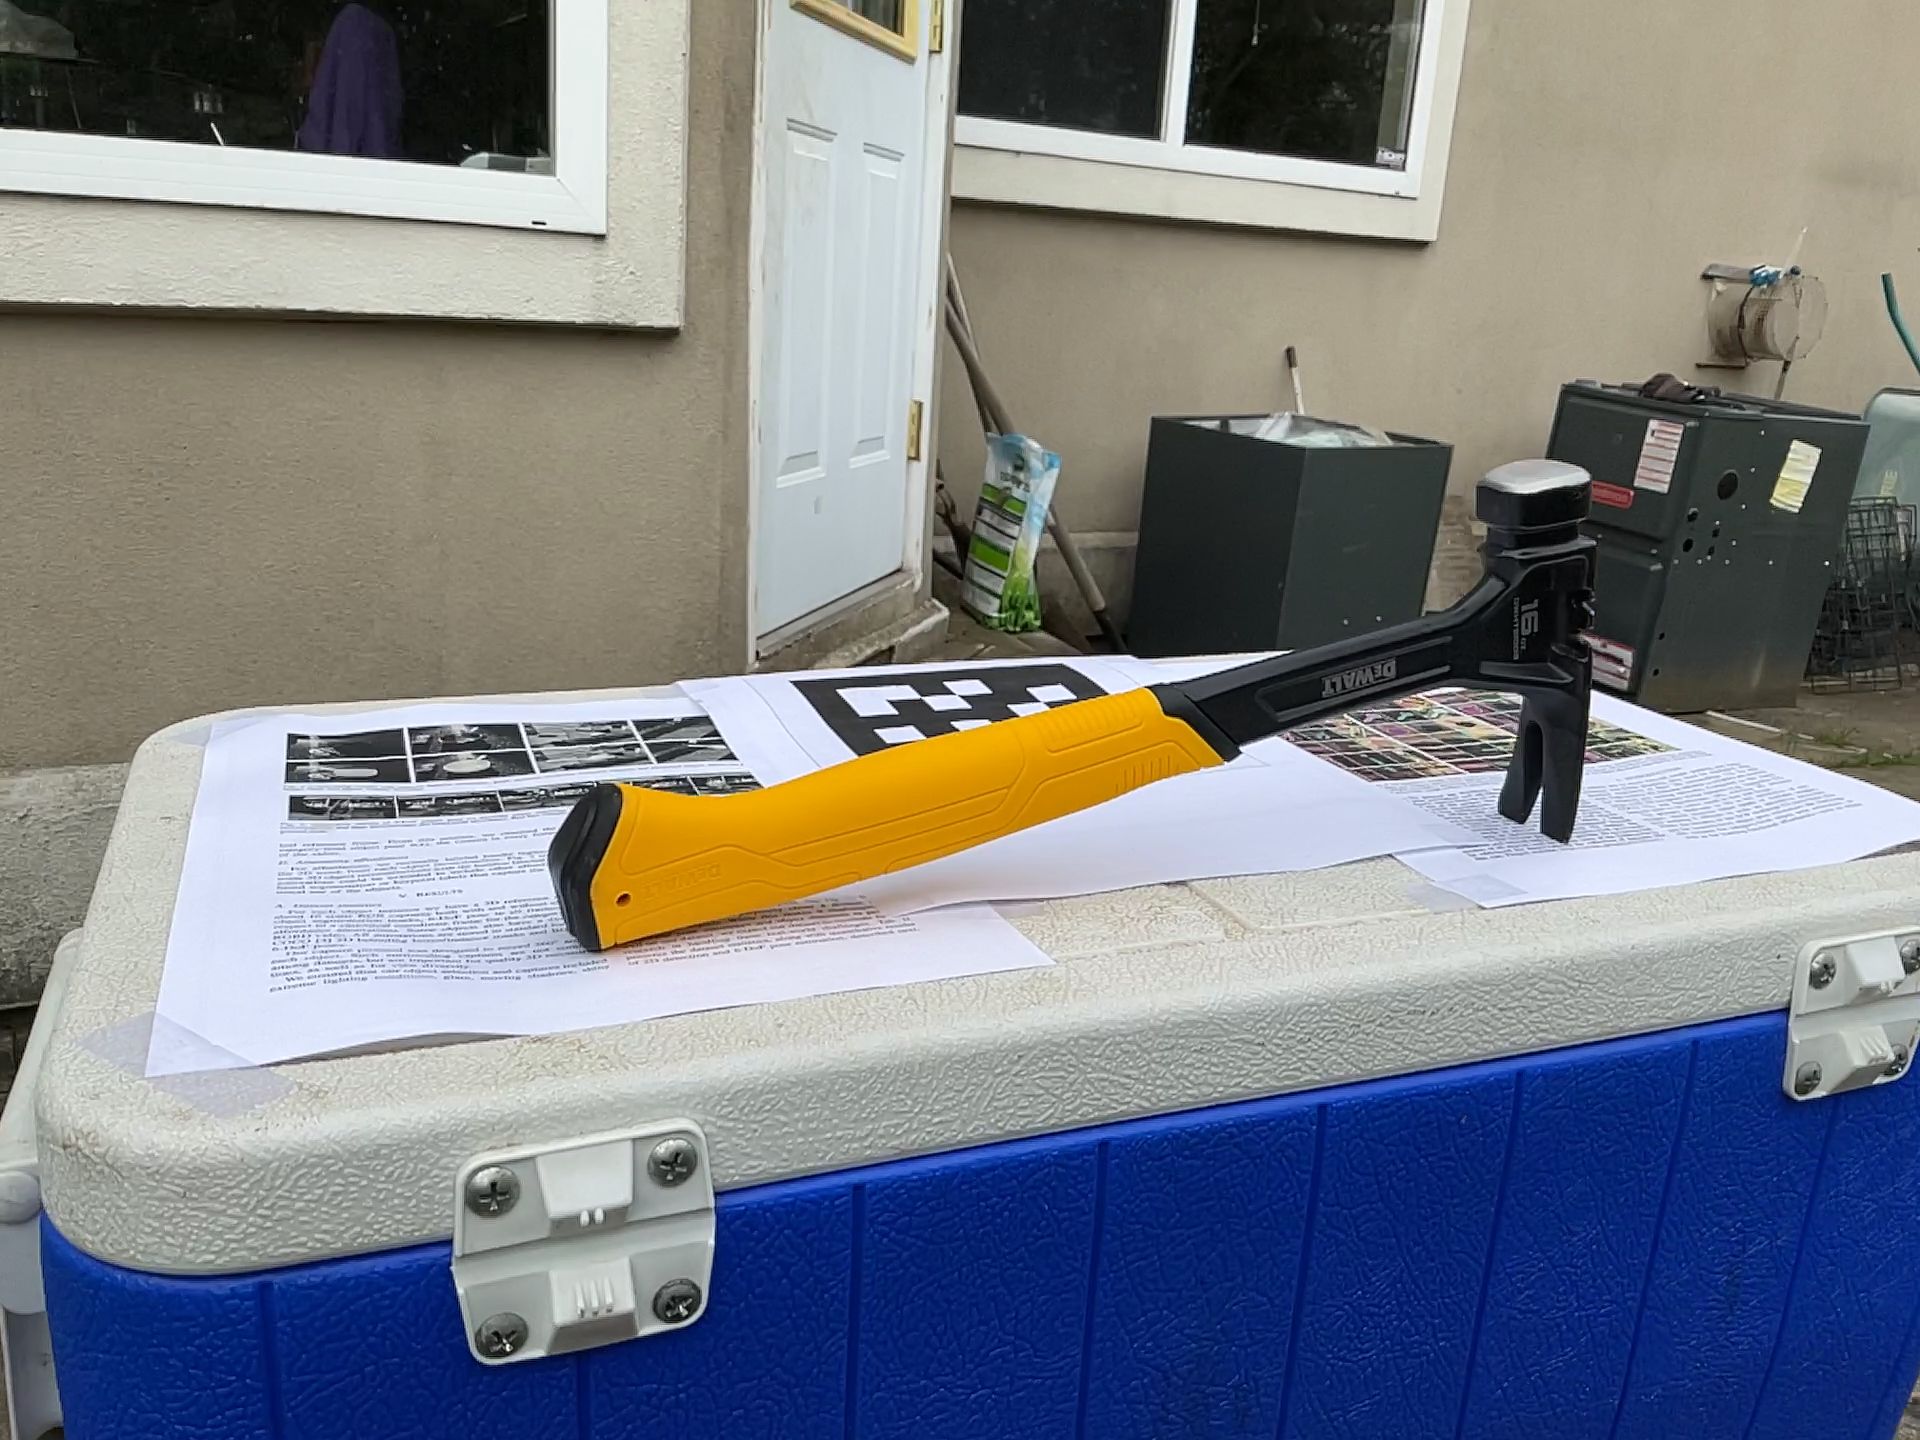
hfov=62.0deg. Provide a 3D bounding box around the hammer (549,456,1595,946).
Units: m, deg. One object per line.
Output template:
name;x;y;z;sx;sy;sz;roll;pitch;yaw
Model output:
hammer;0.049;0.013;0.480;0.336;0.127;0.034;-14;21;-19
